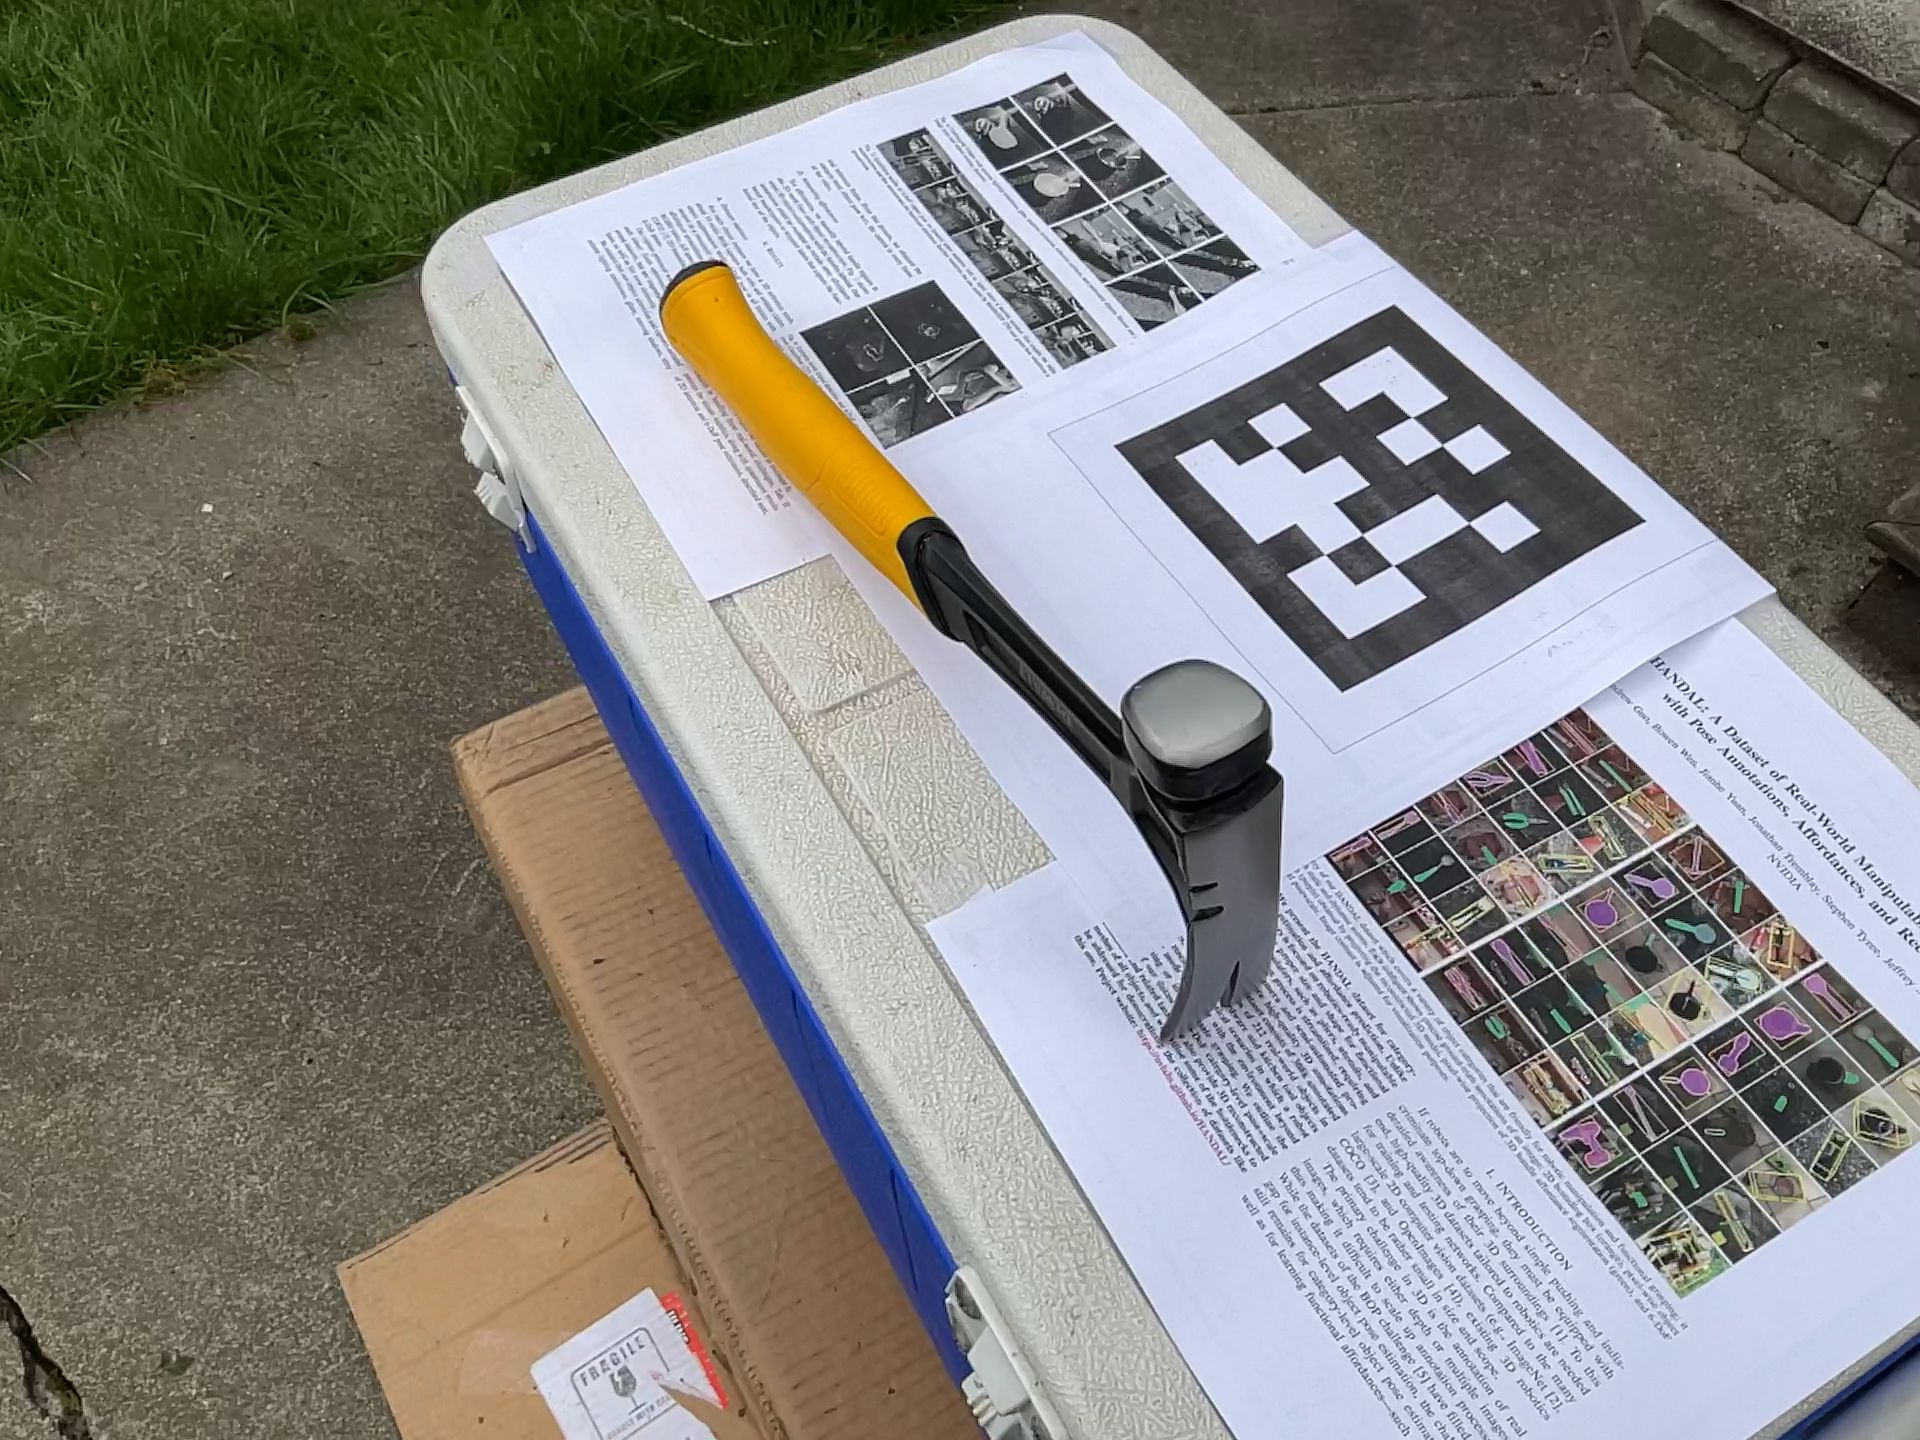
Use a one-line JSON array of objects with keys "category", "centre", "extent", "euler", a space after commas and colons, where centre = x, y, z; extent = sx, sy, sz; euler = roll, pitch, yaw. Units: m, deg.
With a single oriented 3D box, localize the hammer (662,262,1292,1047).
[{"category": "hammer", "centre": [-0.013, -0.050, 0.499], "extent": [0.034, 0.127, 0.337], "euler": [-27, 49, -16]}]
